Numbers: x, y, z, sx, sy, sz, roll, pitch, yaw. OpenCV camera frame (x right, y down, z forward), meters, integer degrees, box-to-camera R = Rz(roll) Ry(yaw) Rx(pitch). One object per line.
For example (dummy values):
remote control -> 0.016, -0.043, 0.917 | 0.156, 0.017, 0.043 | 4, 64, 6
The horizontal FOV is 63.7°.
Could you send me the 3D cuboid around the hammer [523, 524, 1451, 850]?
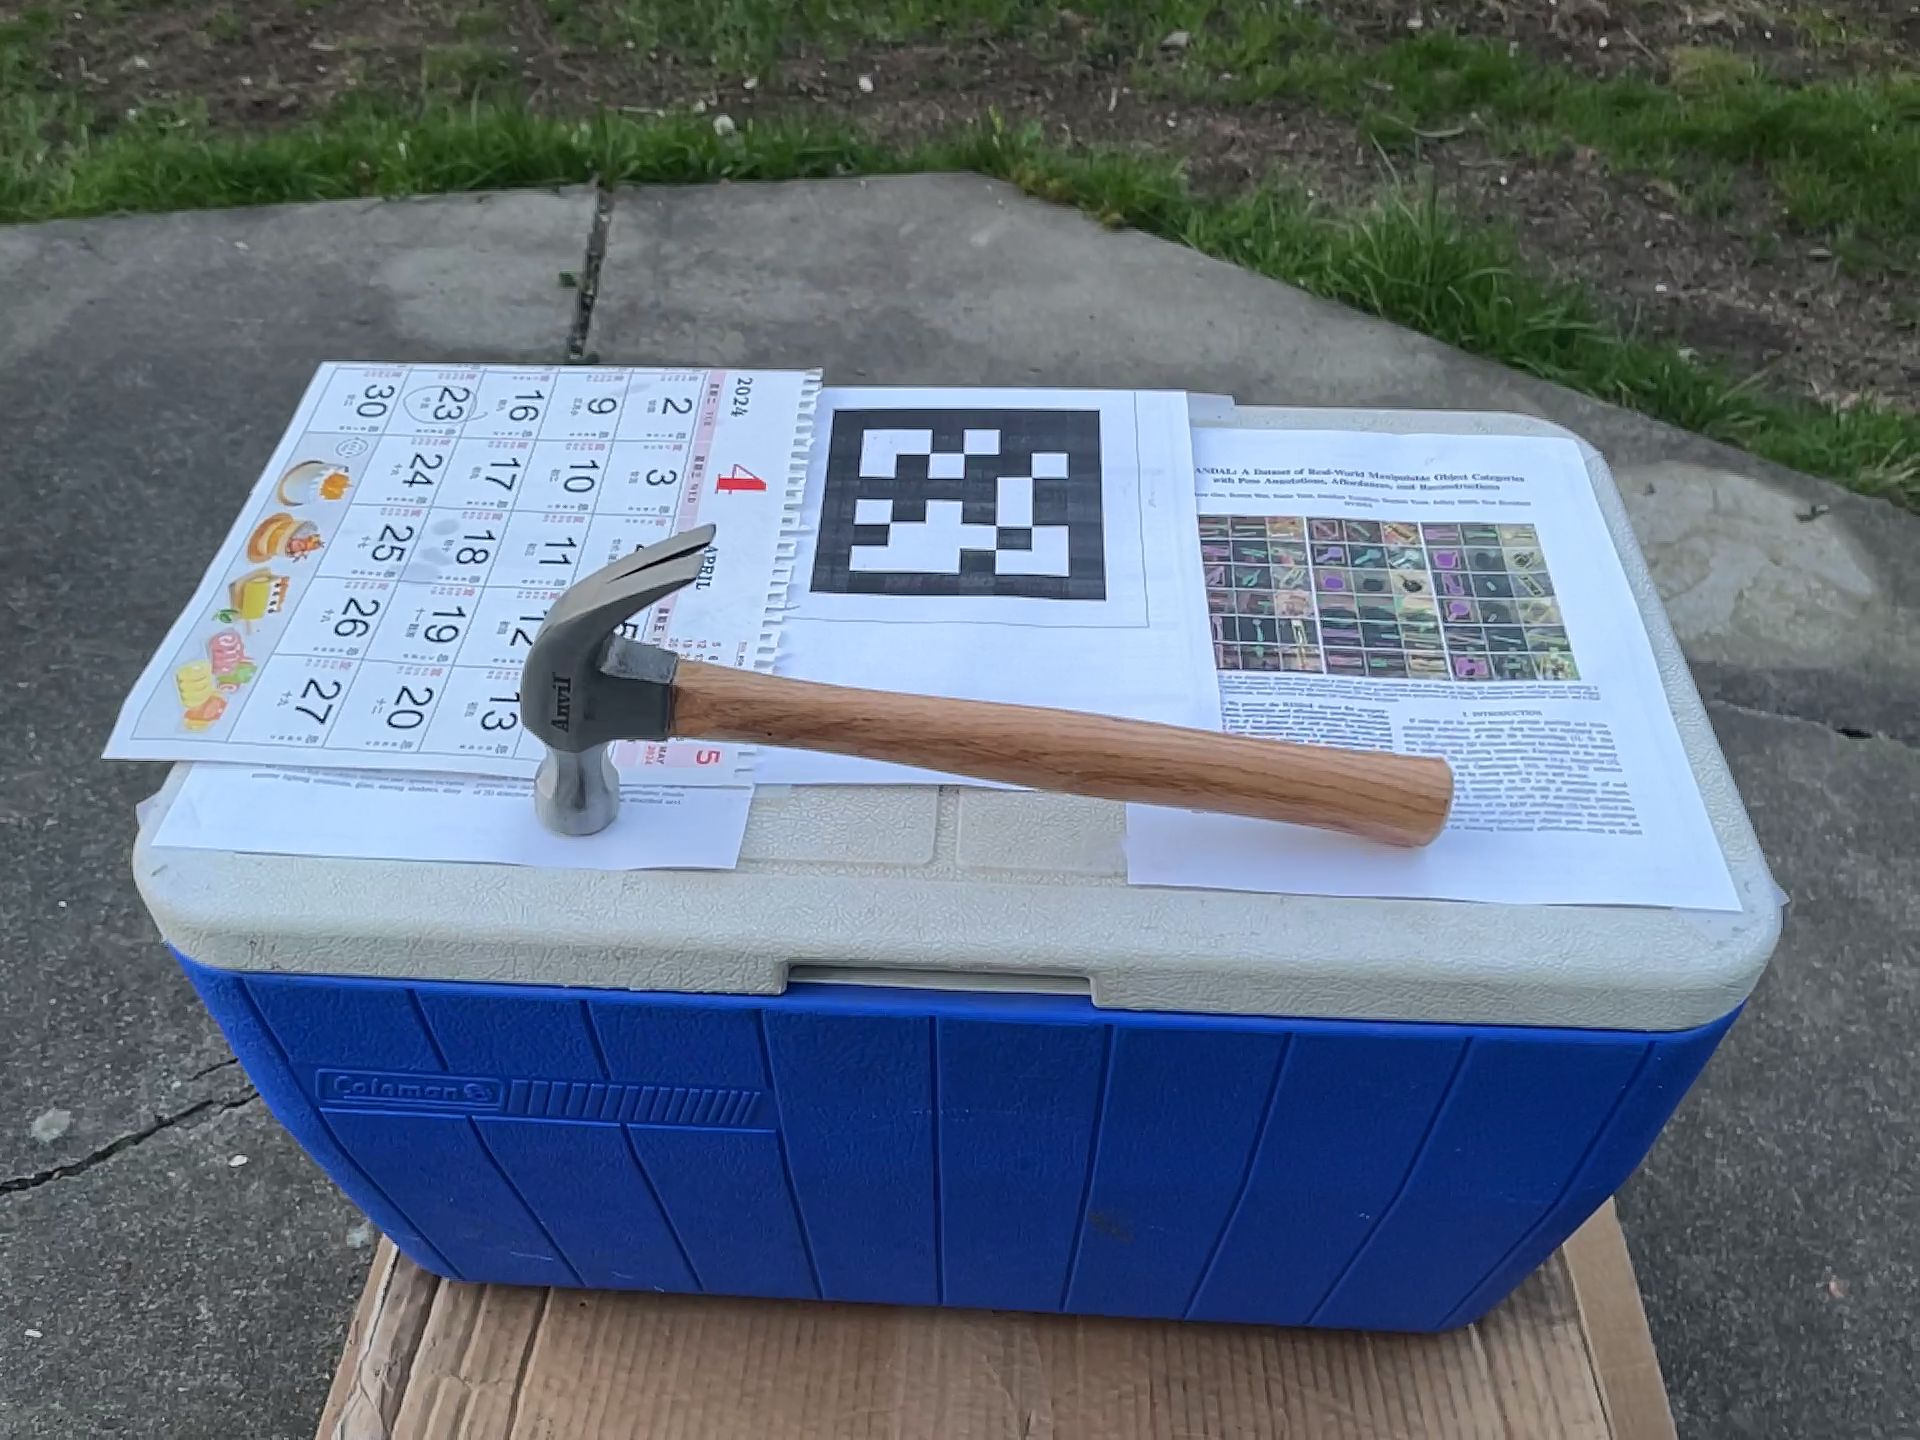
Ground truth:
hammer -> 0.012, 0.006, 0.554 | 0.331, 0.130, 0.031 | 8, 41, -4
